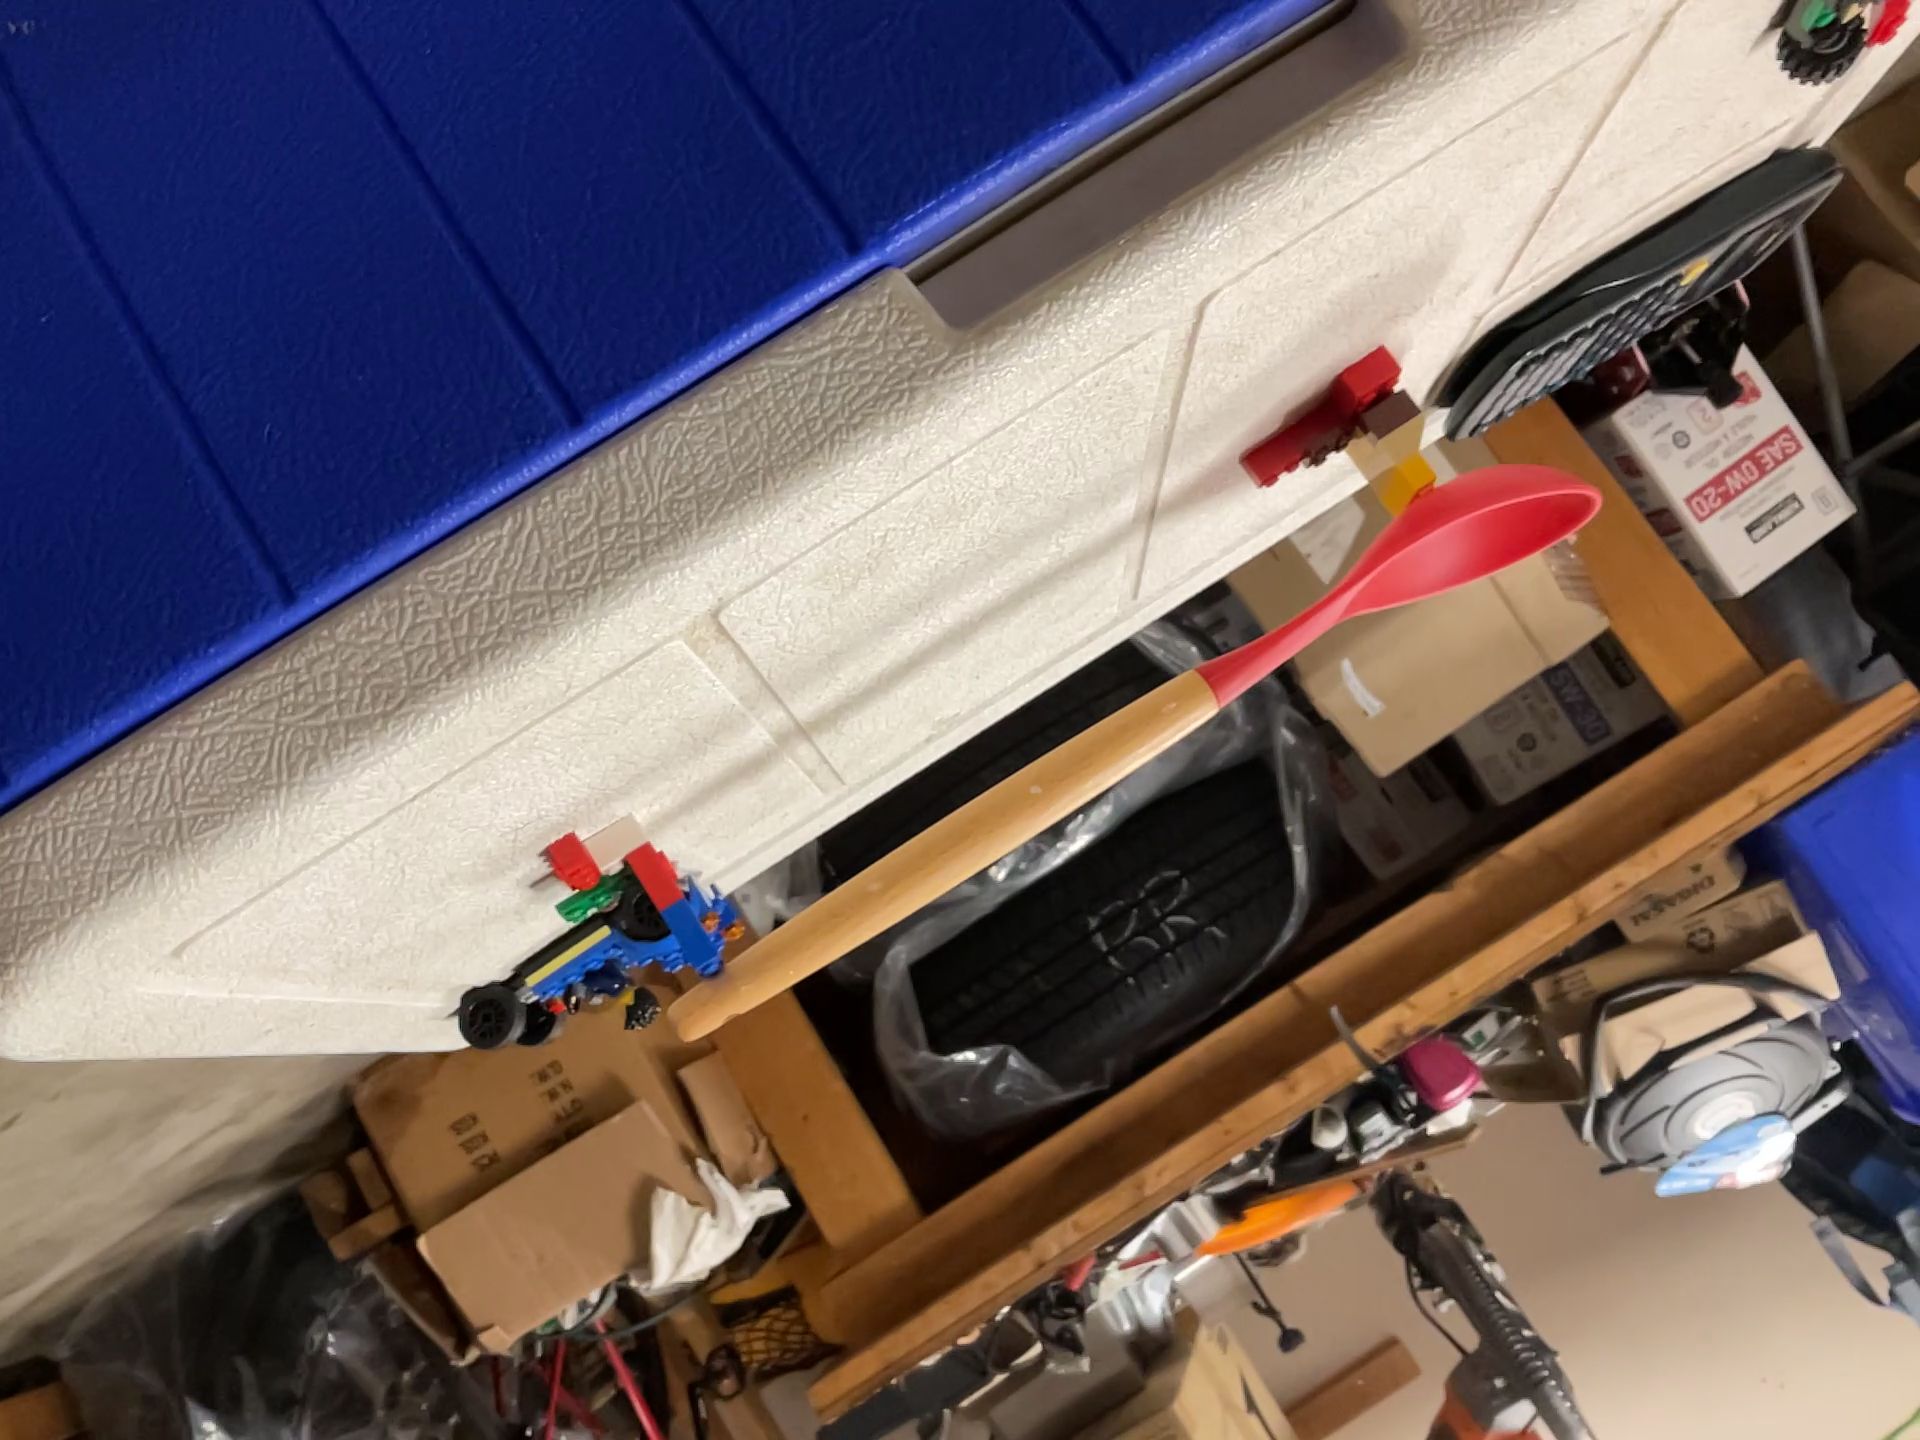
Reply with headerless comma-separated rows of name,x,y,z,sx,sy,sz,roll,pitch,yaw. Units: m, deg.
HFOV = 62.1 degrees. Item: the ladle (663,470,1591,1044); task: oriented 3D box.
ladle,0.051,0.007,0.475,0.315,0.031,0.069,-32,164,-7
